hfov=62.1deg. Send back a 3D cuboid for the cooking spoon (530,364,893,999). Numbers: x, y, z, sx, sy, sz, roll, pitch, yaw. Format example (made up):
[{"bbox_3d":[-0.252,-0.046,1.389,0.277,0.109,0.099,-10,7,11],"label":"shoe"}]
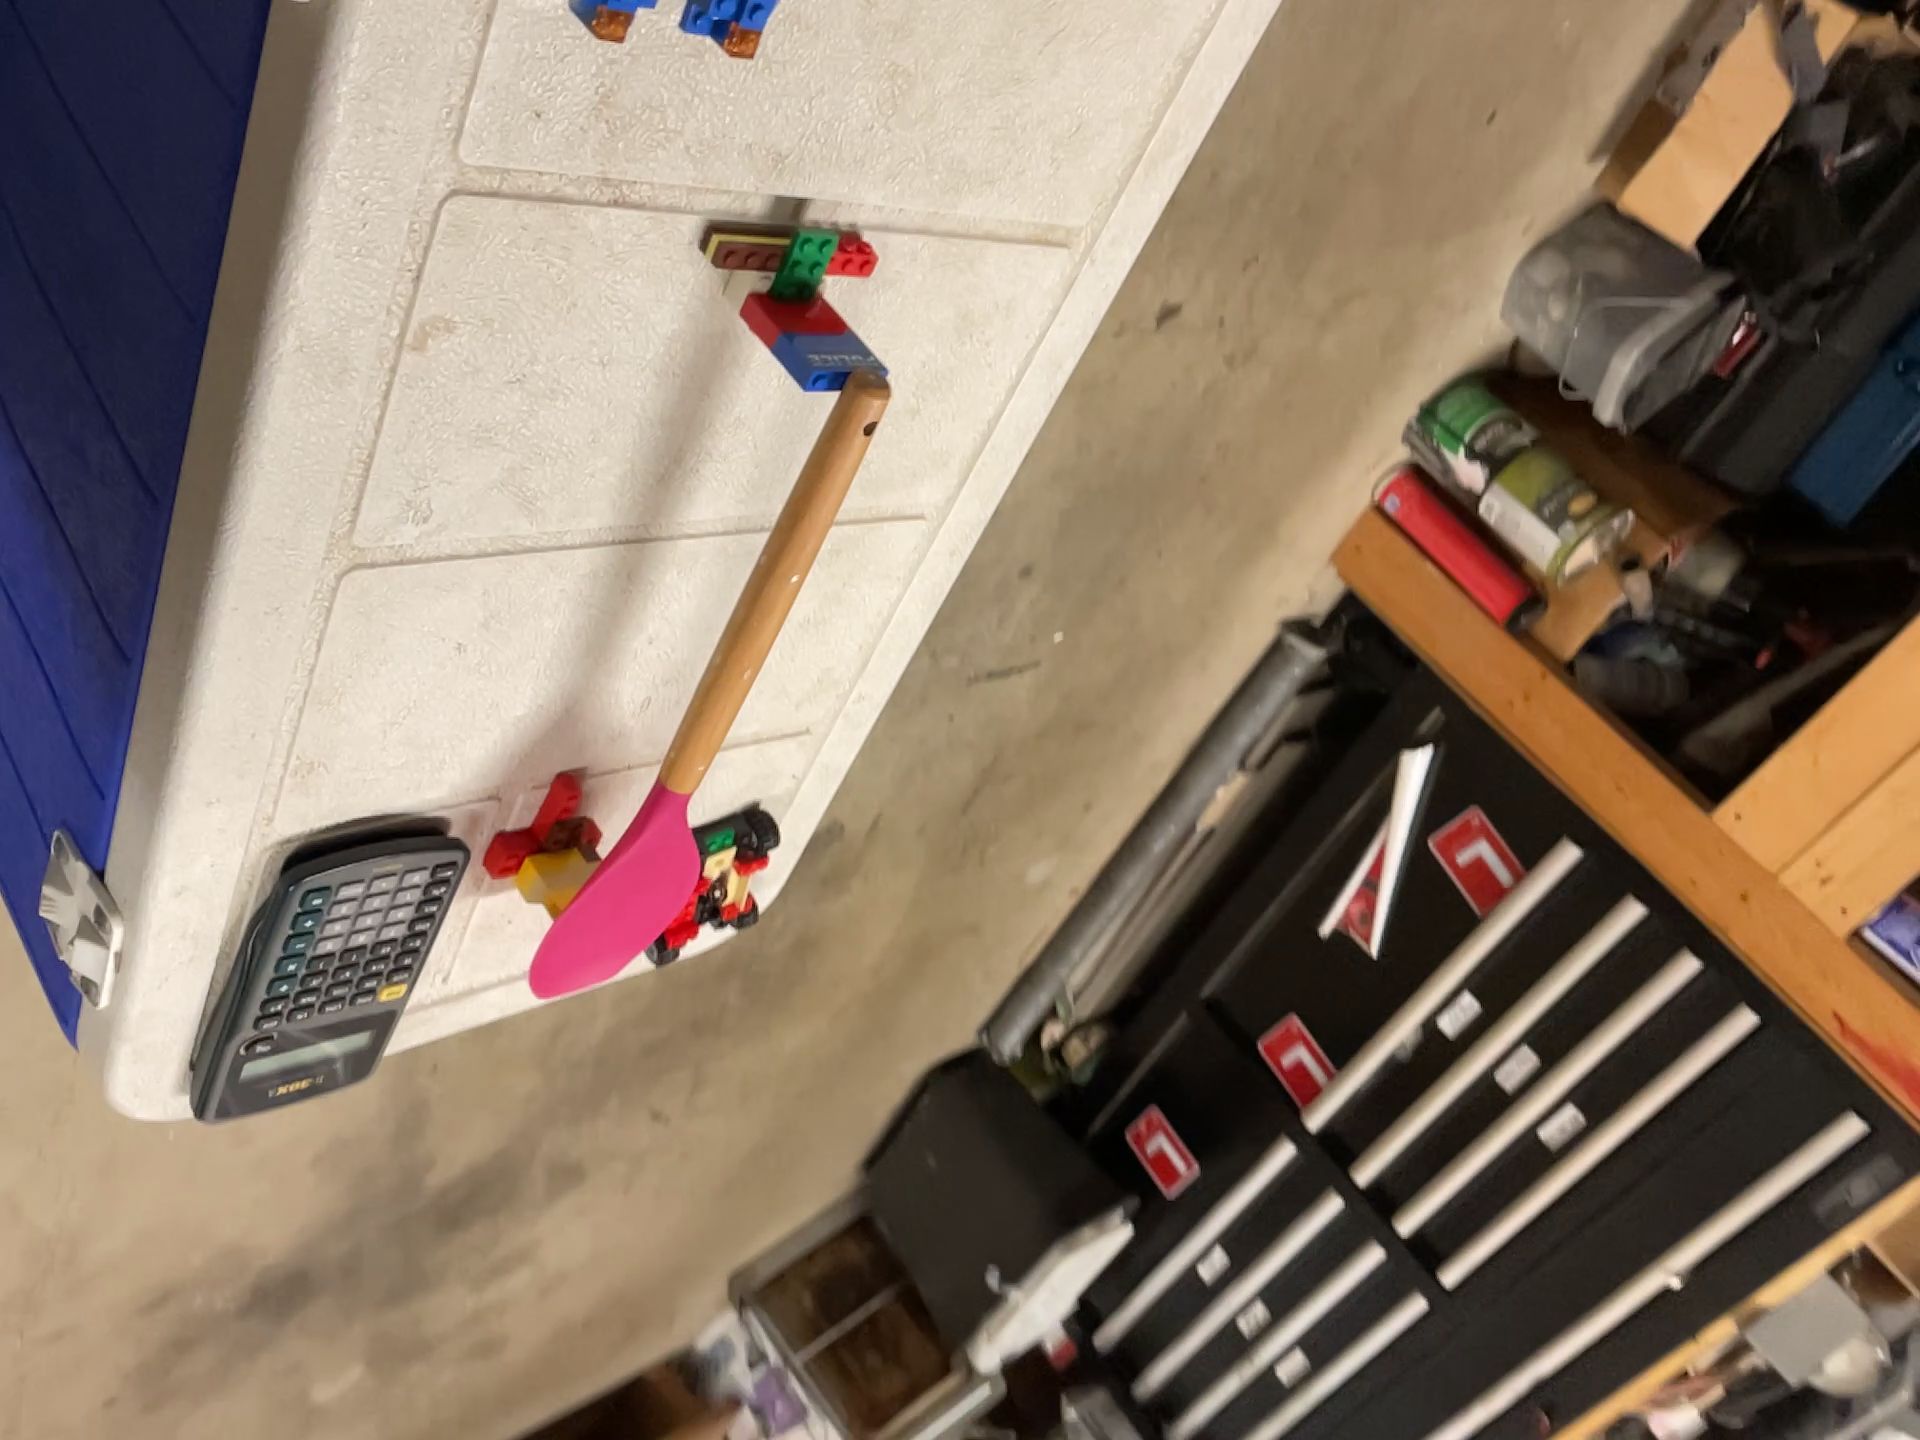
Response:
[{"bbox_3d":[-0.094,0.004,0.579,0.069,0.017,0.318,-13,146,-45],"label":"cooking spoon"}]
